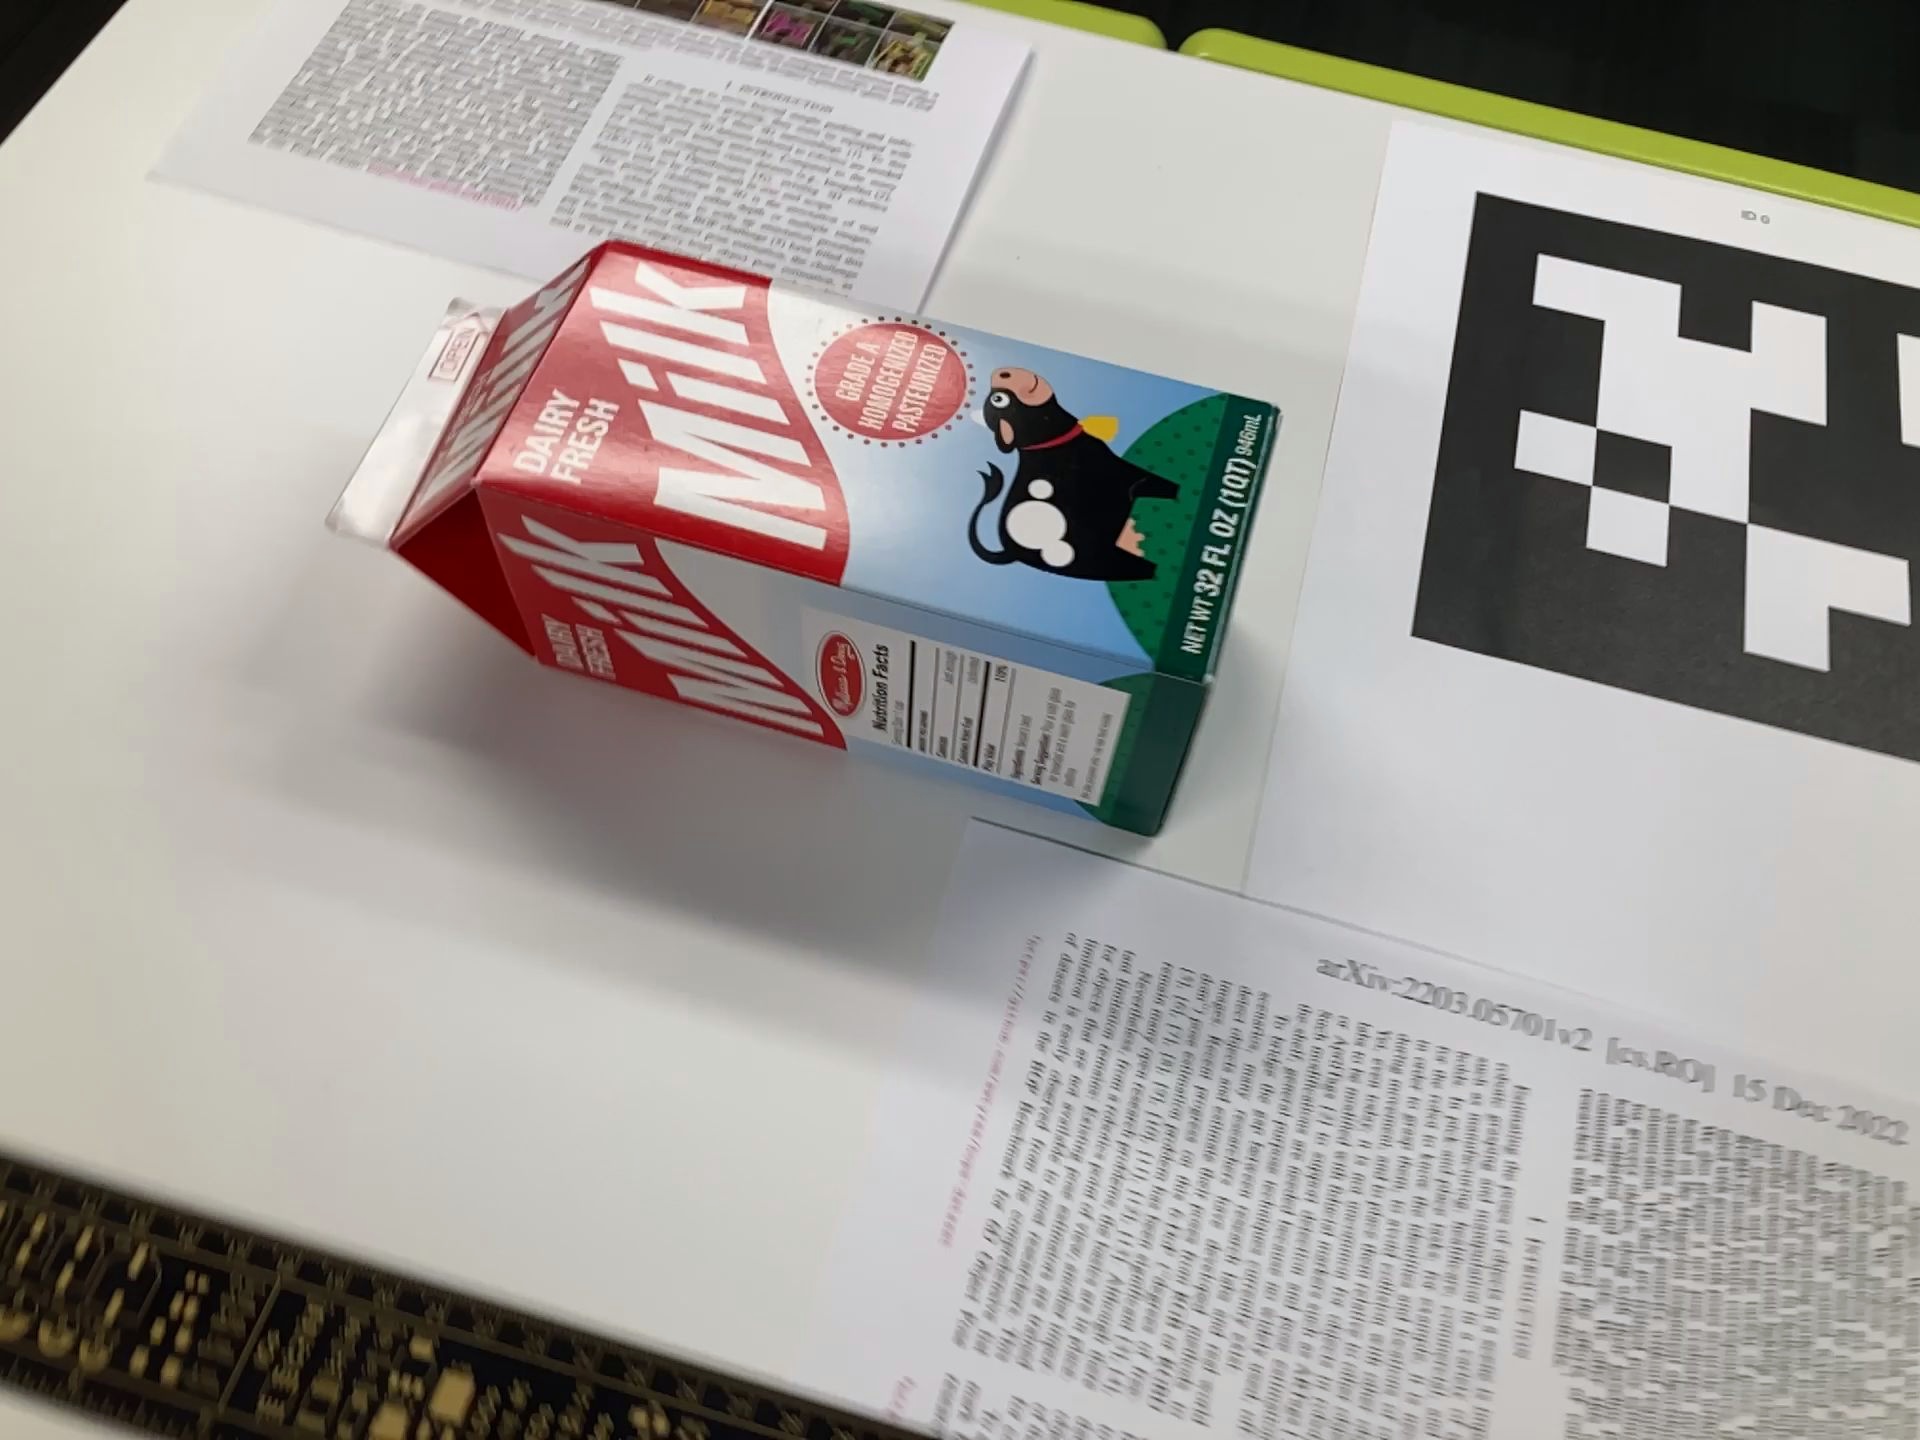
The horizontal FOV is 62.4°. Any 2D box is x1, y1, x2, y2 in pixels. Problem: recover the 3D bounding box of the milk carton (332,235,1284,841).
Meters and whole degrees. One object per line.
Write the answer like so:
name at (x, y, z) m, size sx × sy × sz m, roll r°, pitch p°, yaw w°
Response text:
milk carton at (-0.035, -0.044, 0.347) m, size 0.190 × 0.073 × 0.072 m, roll 15°, pitch 62°, yaw 6°
